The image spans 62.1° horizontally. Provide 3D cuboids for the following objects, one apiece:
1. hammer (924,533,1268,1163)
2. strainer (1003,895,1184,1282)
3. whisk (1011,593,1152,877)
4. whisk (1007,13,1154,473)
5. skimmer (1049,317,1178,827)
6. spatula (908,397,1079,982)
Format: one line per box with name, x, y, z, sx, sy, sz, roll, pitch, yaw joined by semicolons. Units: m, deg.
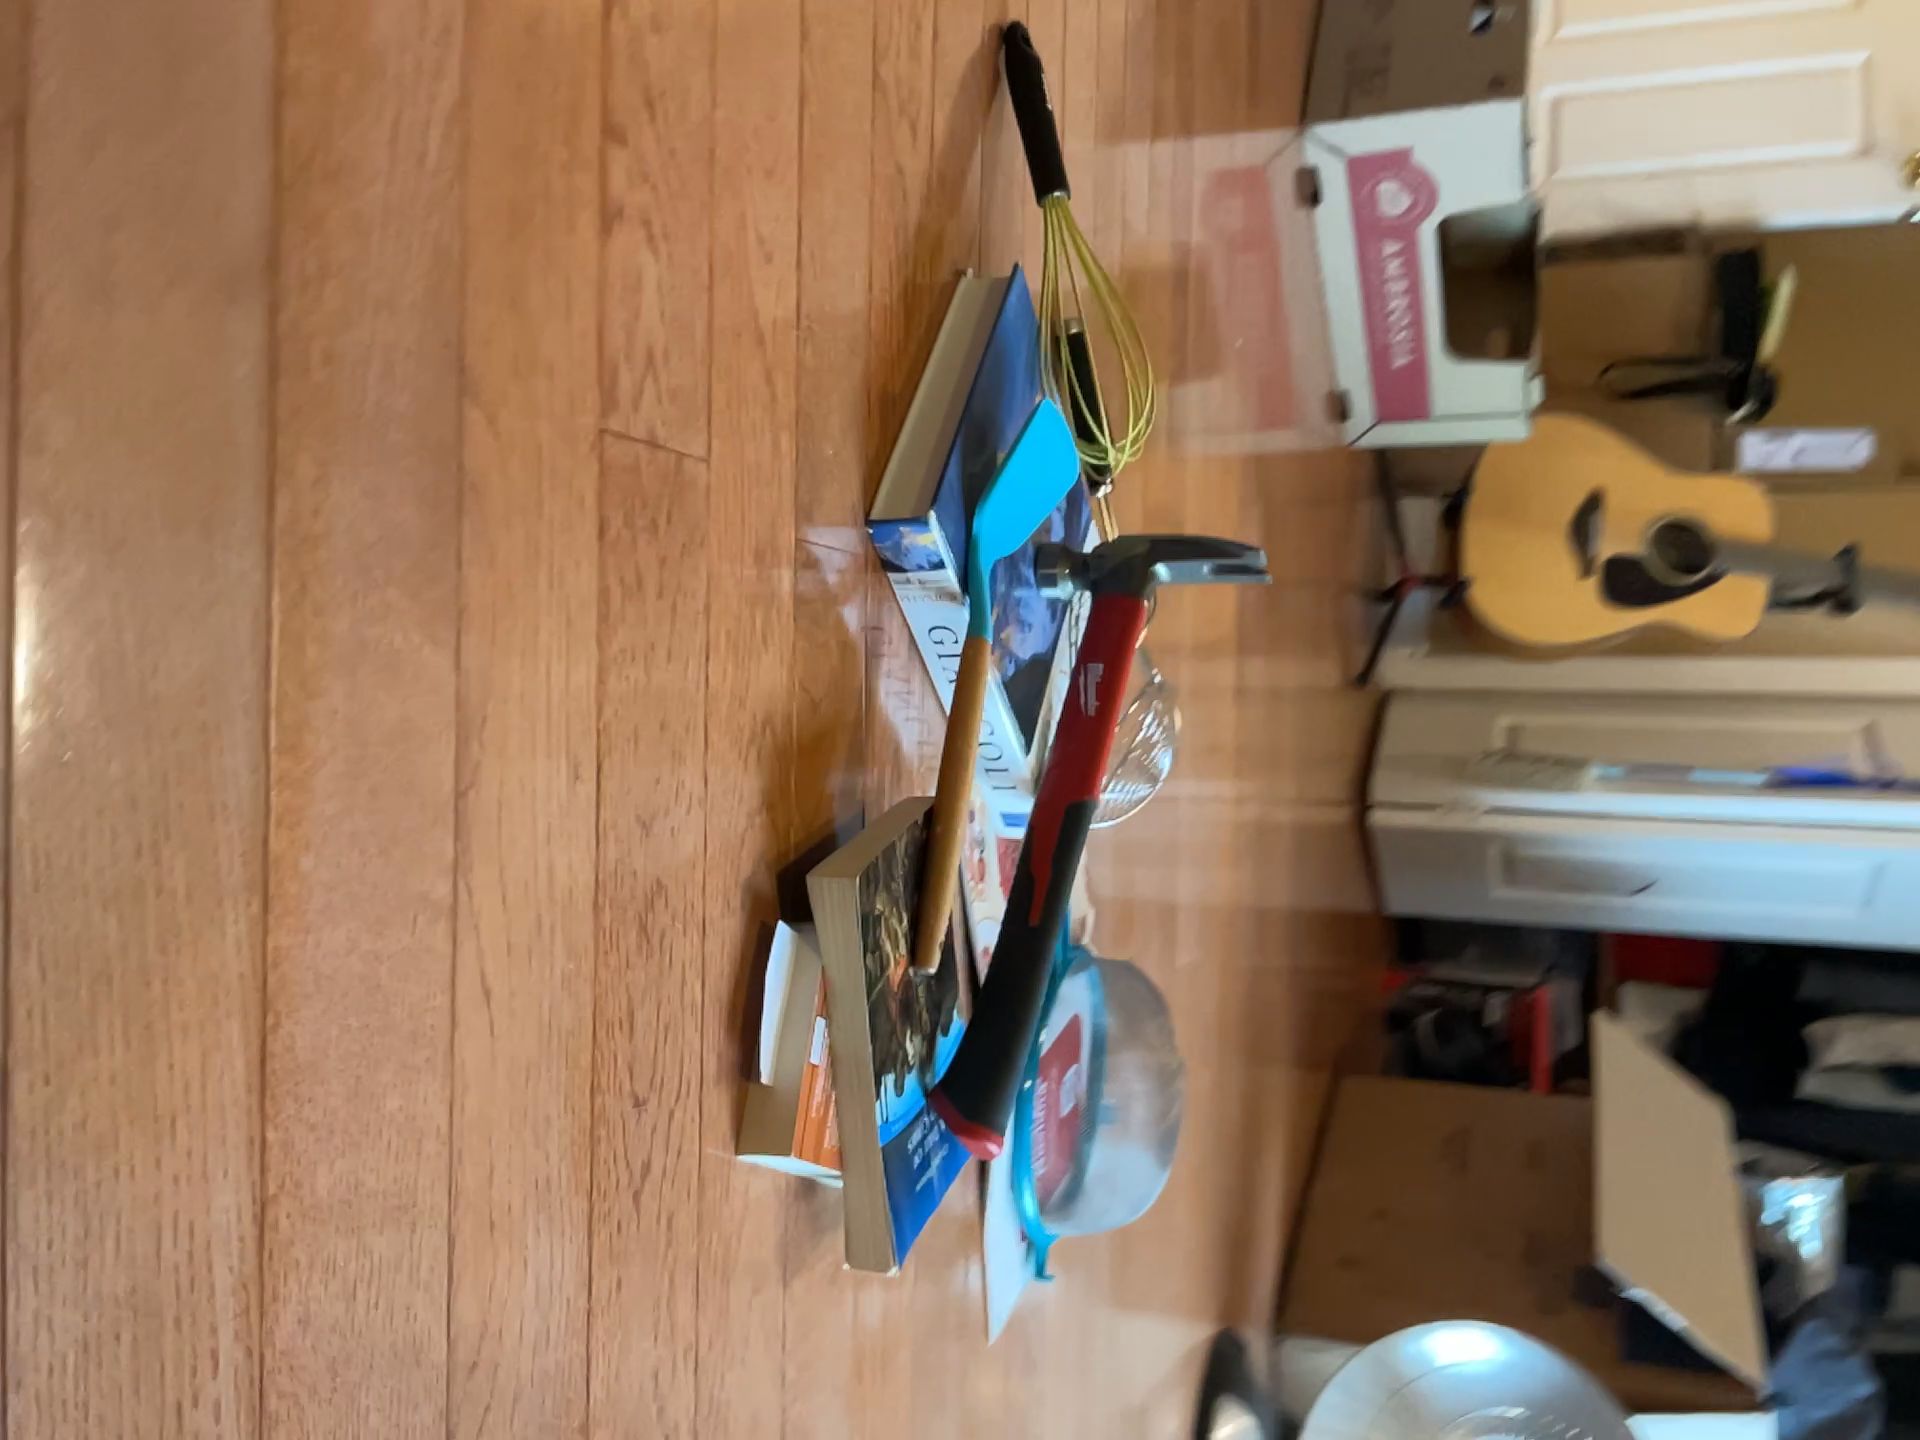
hammer;0.069;0.054;0.877;0.038;0.143;0.387;59;40;-49
strainer;0.104;0.211;1.095;0.211;0.095;0.340;-49;143;-58
whisk;0.074;-0.004;1.009;0.059;0.058;0.247;118;-9;-62
whisk;0.062;-0.300;0.992;0.080;0.067;0.312;5;72;-54
skimmer;0.087;-0.101;1.155;0.127;0.090;0.363;-28;106;-64
spatula;0.014;-0.017;0.839;0.082;0.044;0.318;54;42;-60
